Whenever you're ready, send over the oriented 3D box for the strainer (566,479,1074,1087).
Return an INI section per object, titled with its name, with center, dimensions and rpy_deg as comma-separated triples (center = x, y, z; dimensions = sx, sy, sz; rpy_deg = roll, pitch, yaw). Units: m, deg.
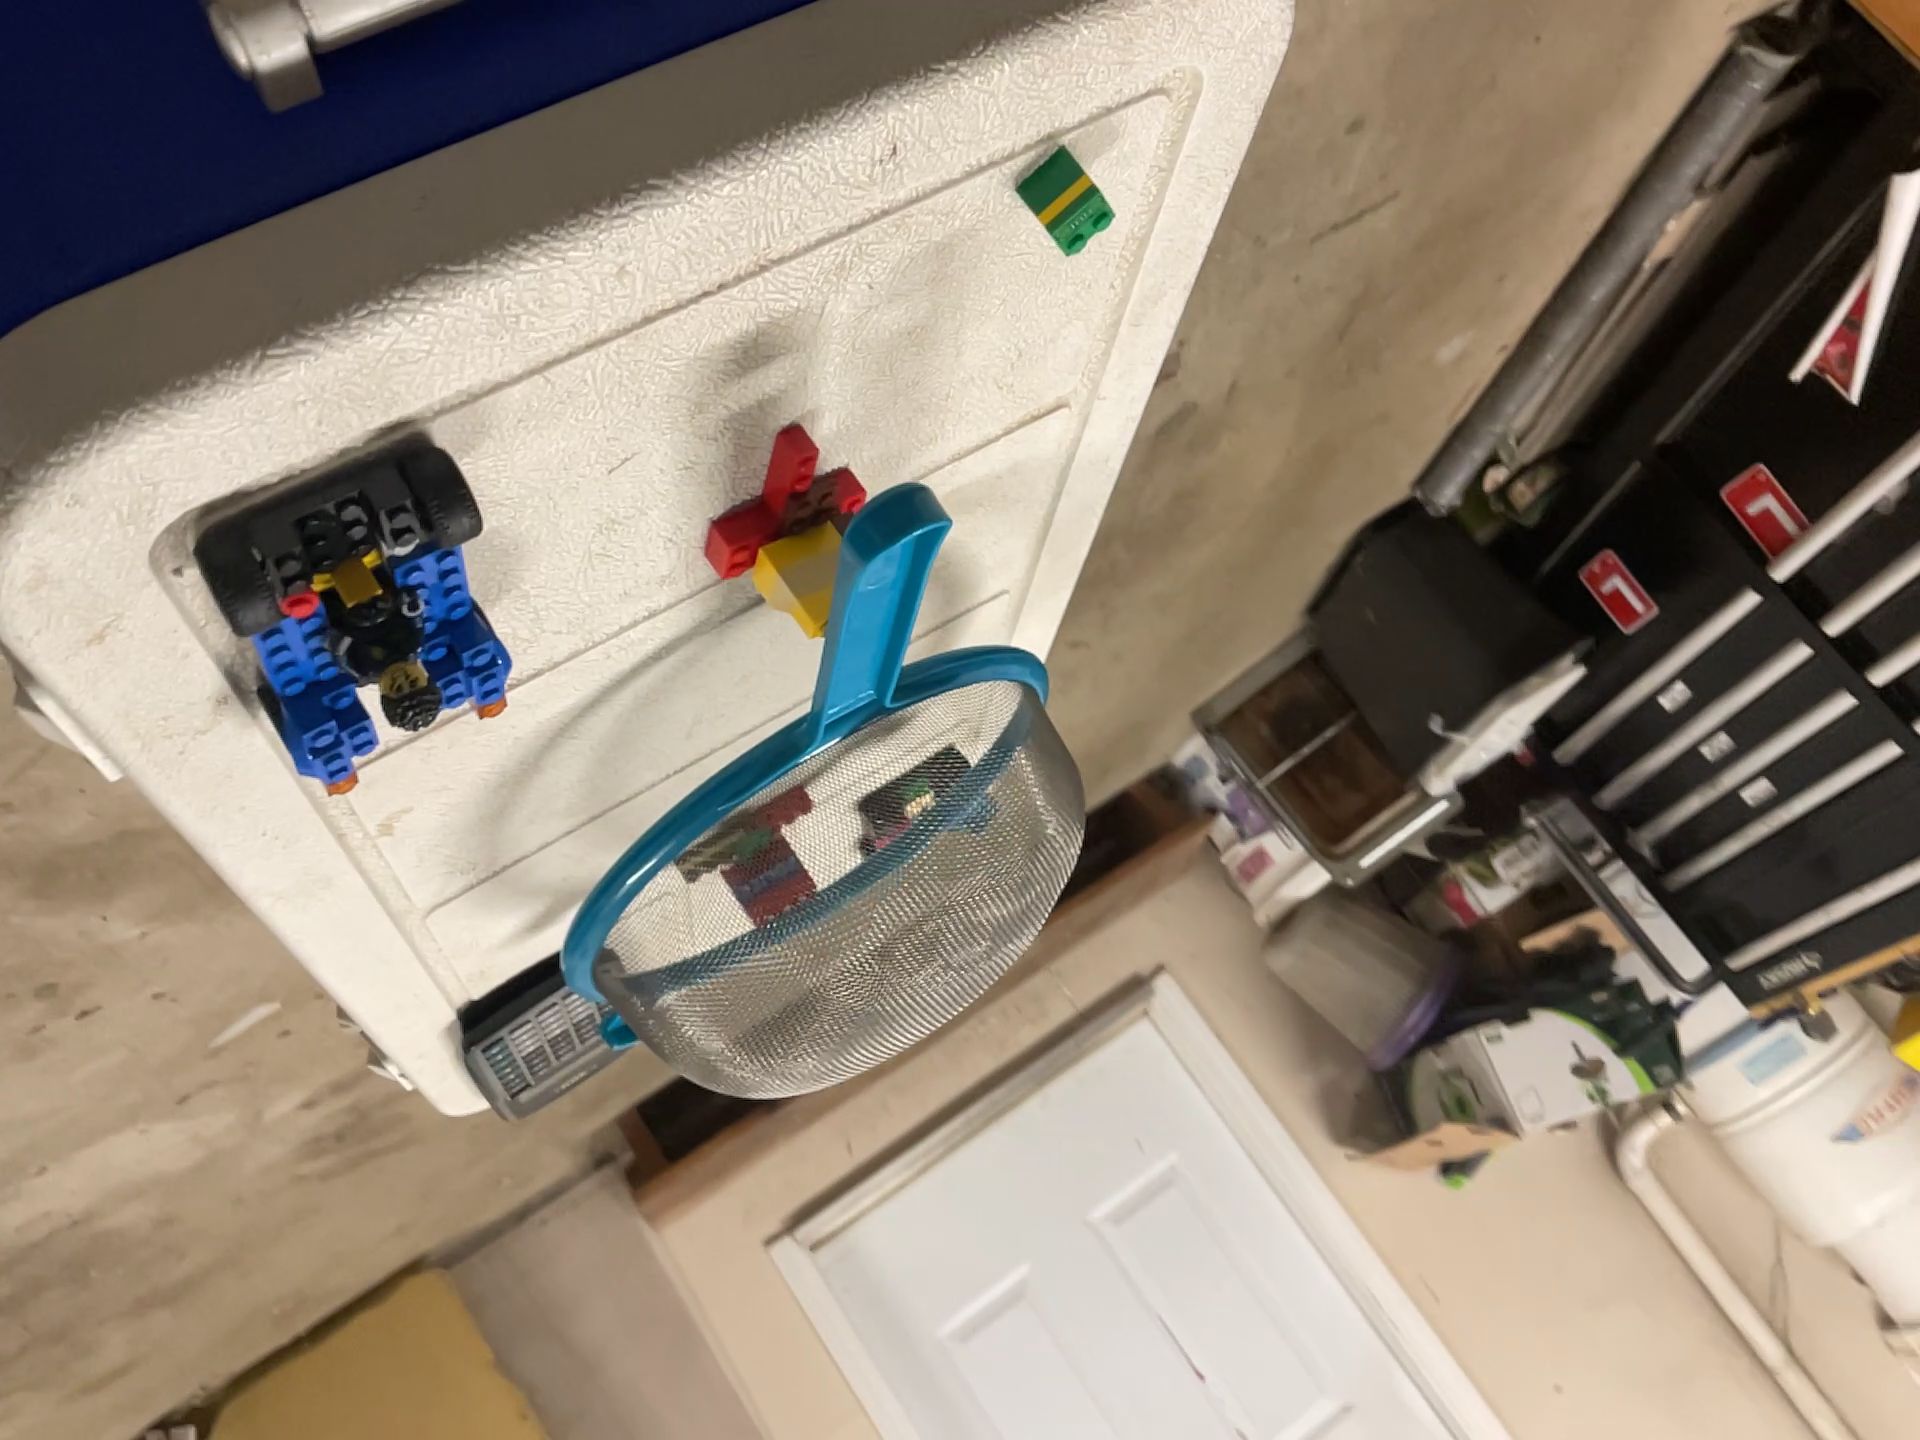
[strainer]
center = -0.019, 0.044, 0.528
dimensions = 0.211, 0.095, 0.340
rpy_deg = -30, 164, -21
